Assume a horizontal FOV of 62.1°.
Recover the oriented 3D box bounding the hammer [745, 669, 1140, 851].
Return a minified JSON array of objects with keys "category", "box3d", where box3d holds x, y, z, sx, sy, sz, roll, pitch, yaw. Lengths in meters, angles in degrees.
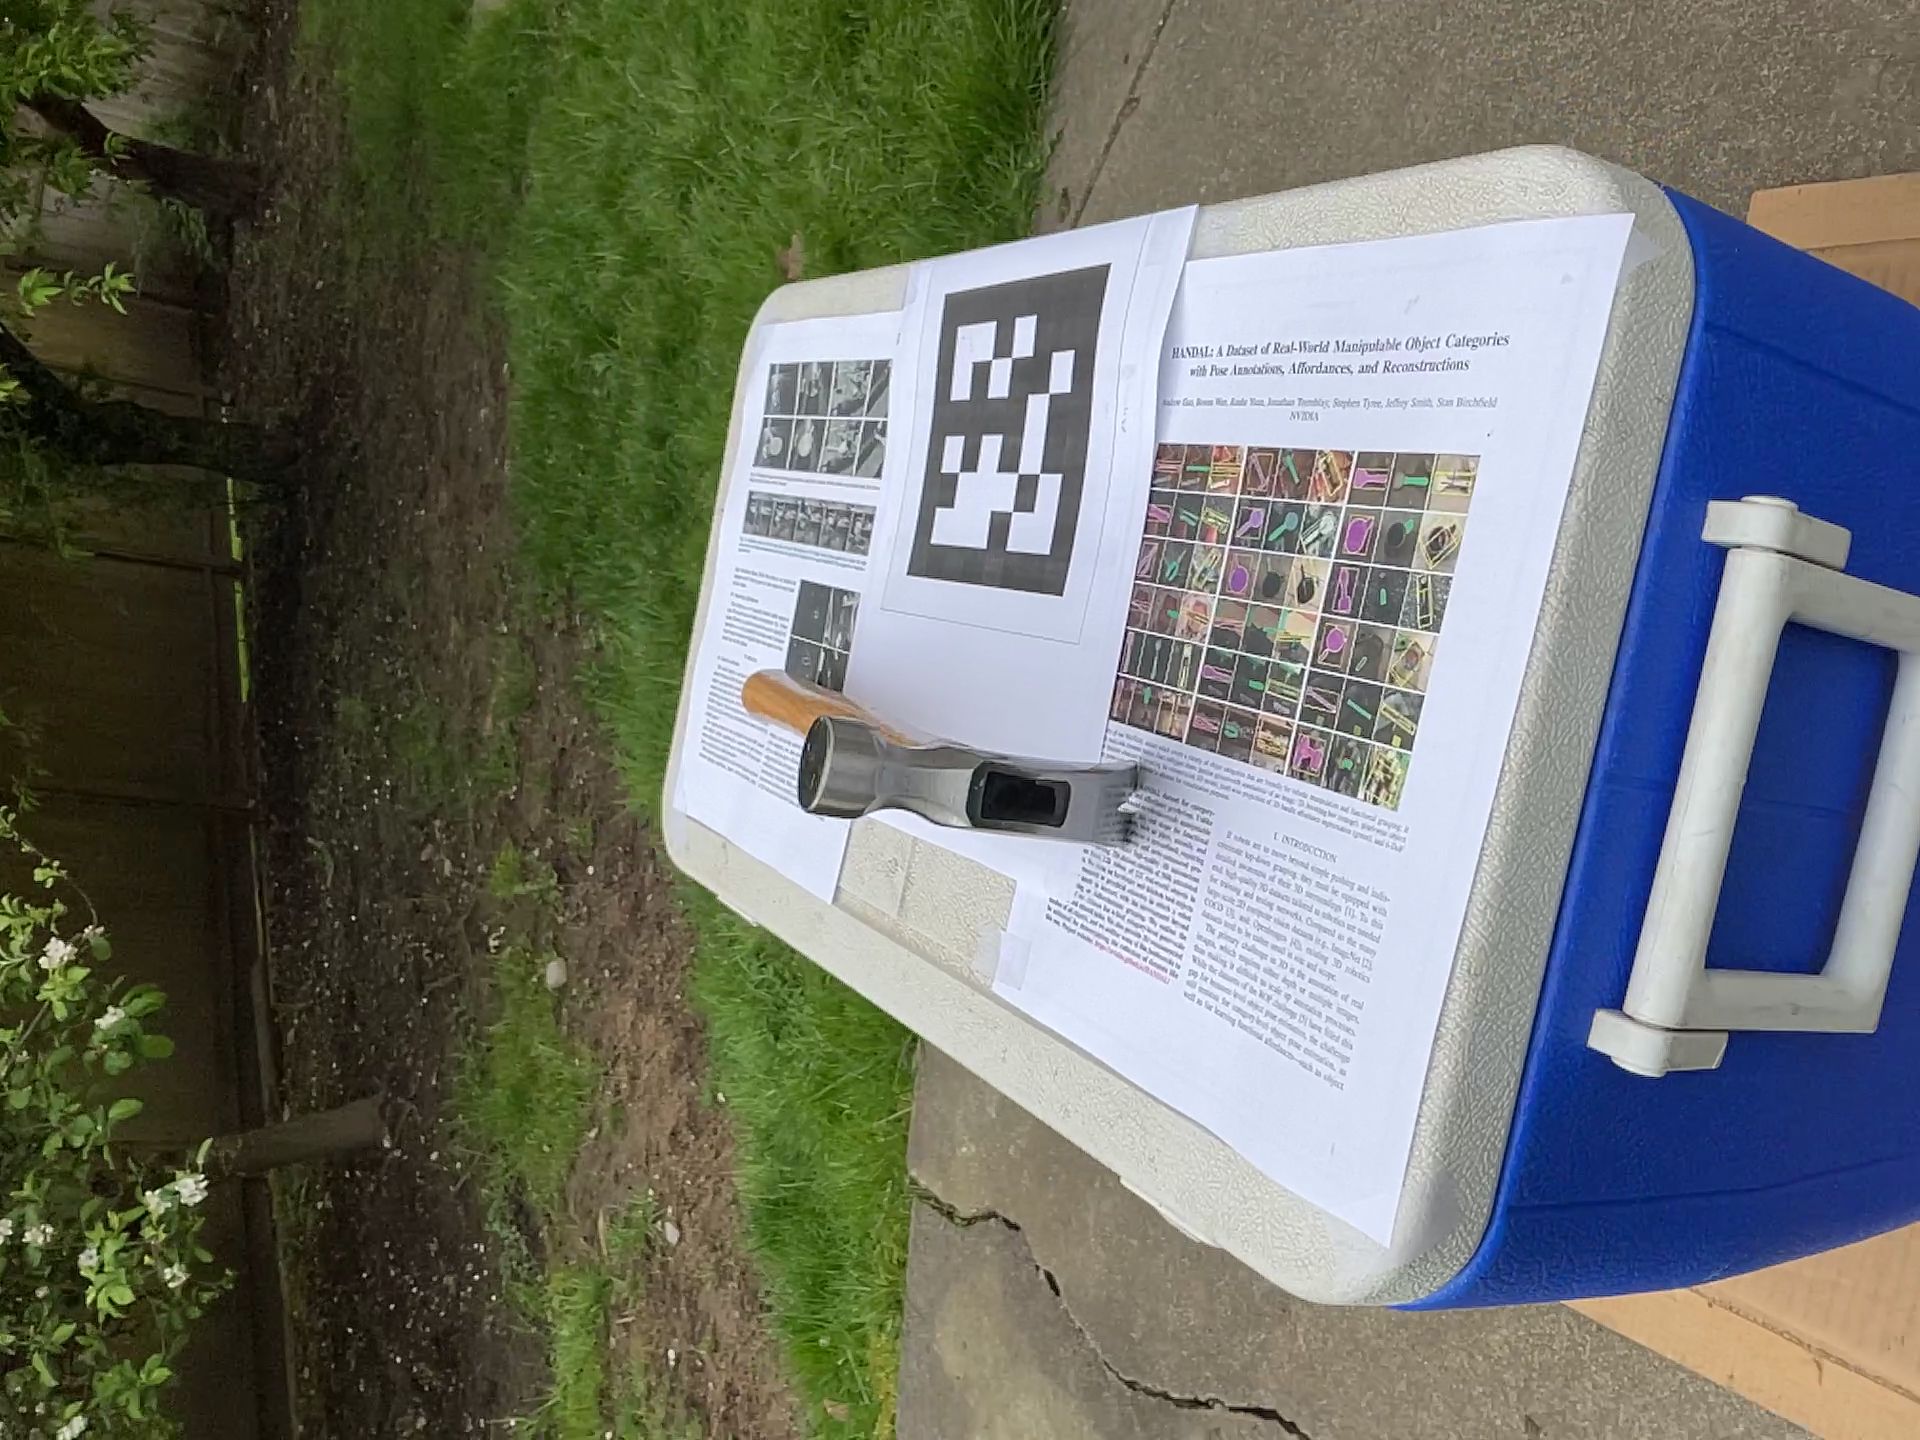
[{"category":"hammer","box3d":[-0.033,0.007,0.644,0.332,0.130,0.031,-161,82,-70]}]
